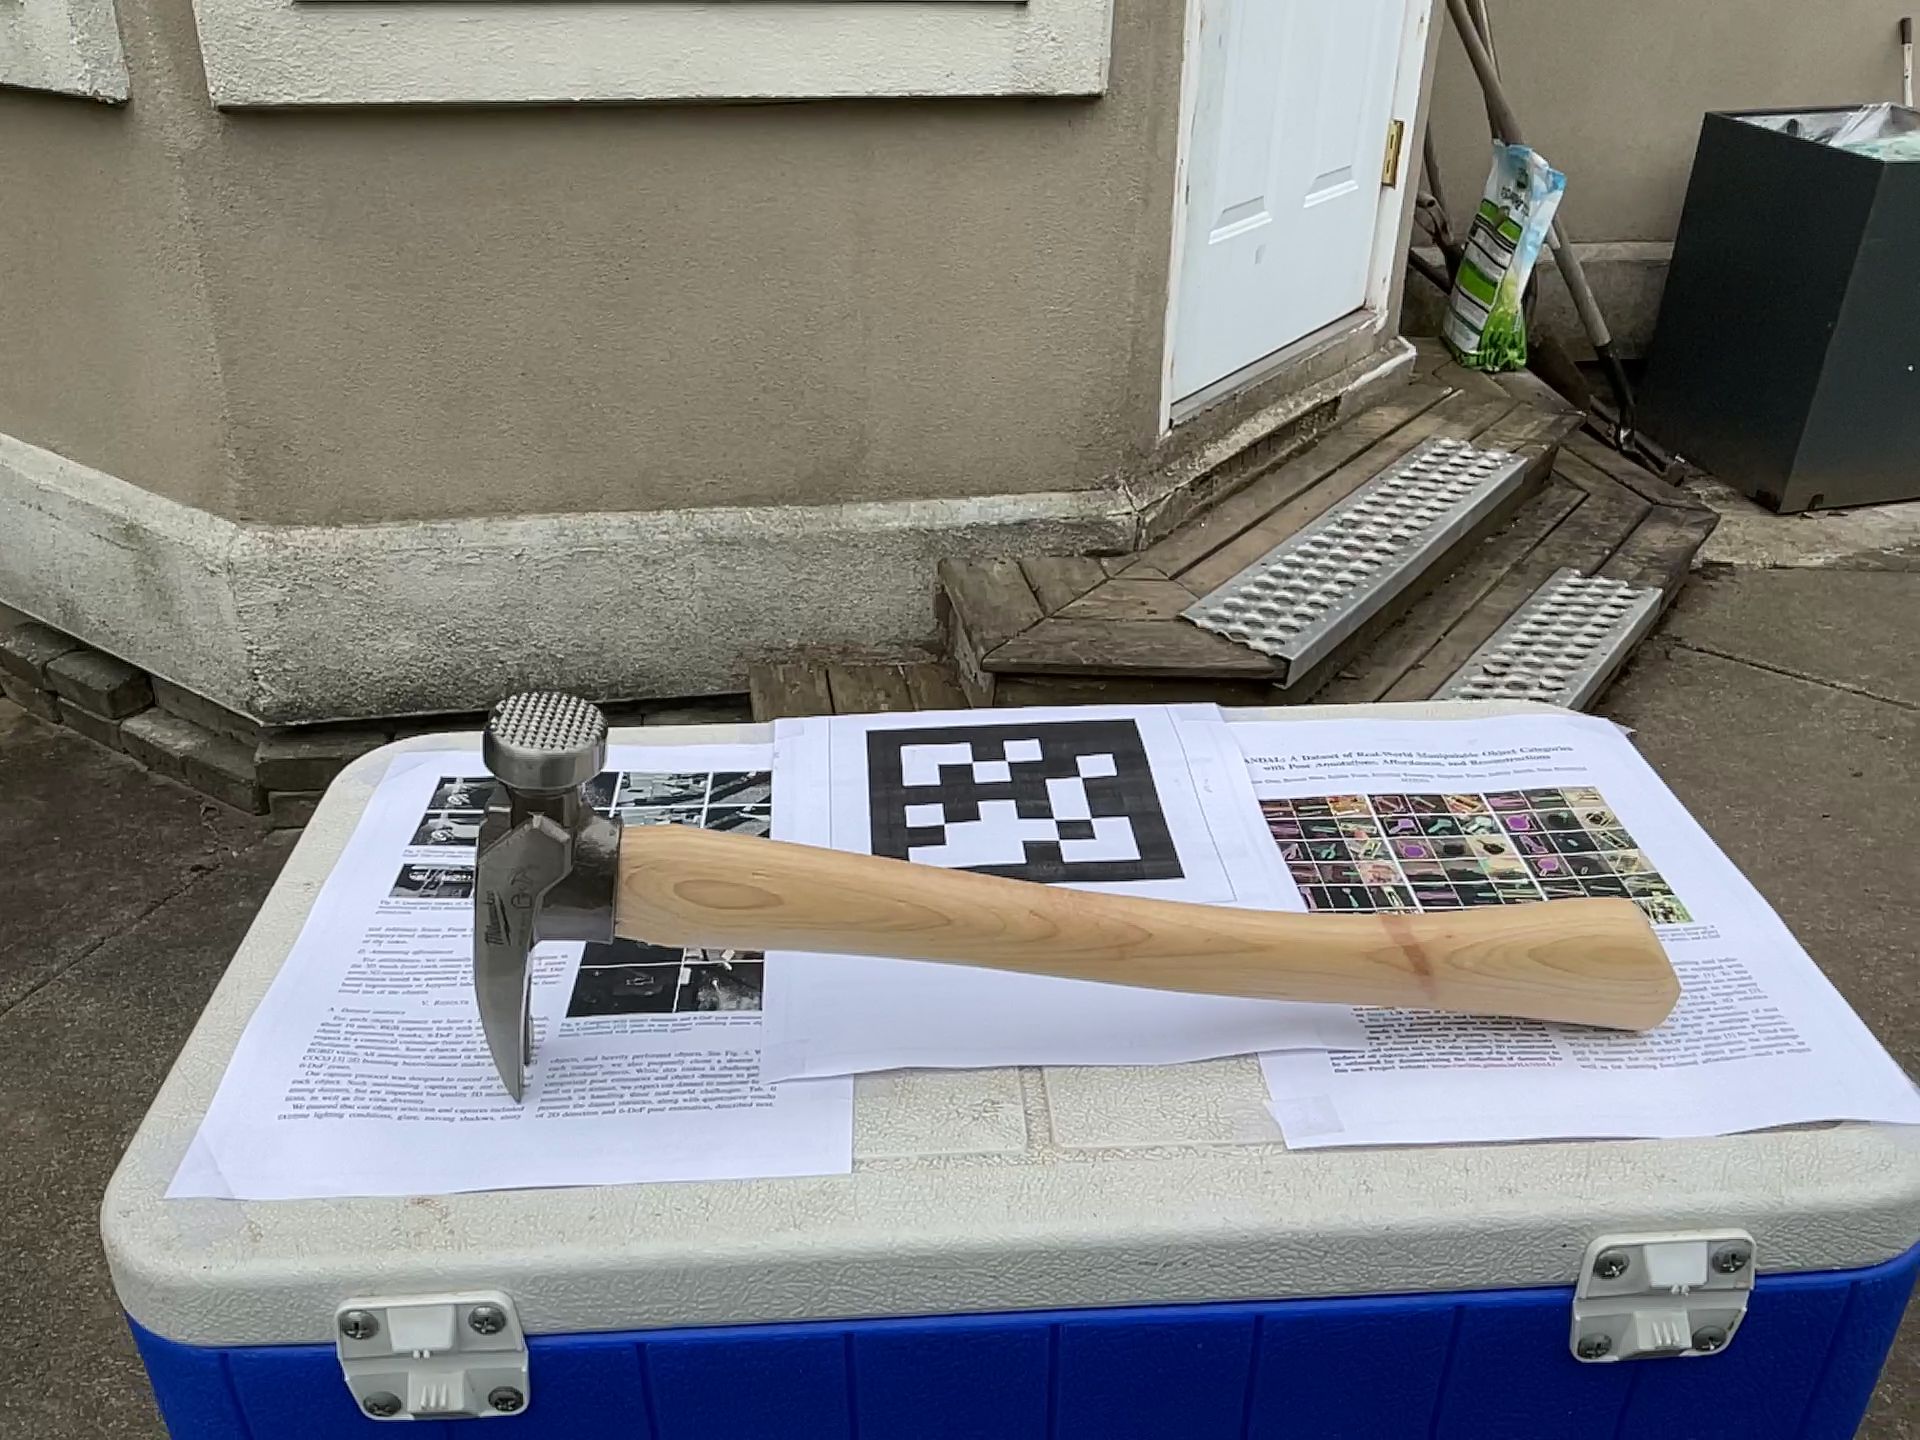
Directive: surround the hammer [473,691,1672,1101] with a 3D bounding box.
[{"bbox_3d":[0.043,0.083,0.555,0.410,0.146,0.038,7,29,-7],"label":"hammer"}]
